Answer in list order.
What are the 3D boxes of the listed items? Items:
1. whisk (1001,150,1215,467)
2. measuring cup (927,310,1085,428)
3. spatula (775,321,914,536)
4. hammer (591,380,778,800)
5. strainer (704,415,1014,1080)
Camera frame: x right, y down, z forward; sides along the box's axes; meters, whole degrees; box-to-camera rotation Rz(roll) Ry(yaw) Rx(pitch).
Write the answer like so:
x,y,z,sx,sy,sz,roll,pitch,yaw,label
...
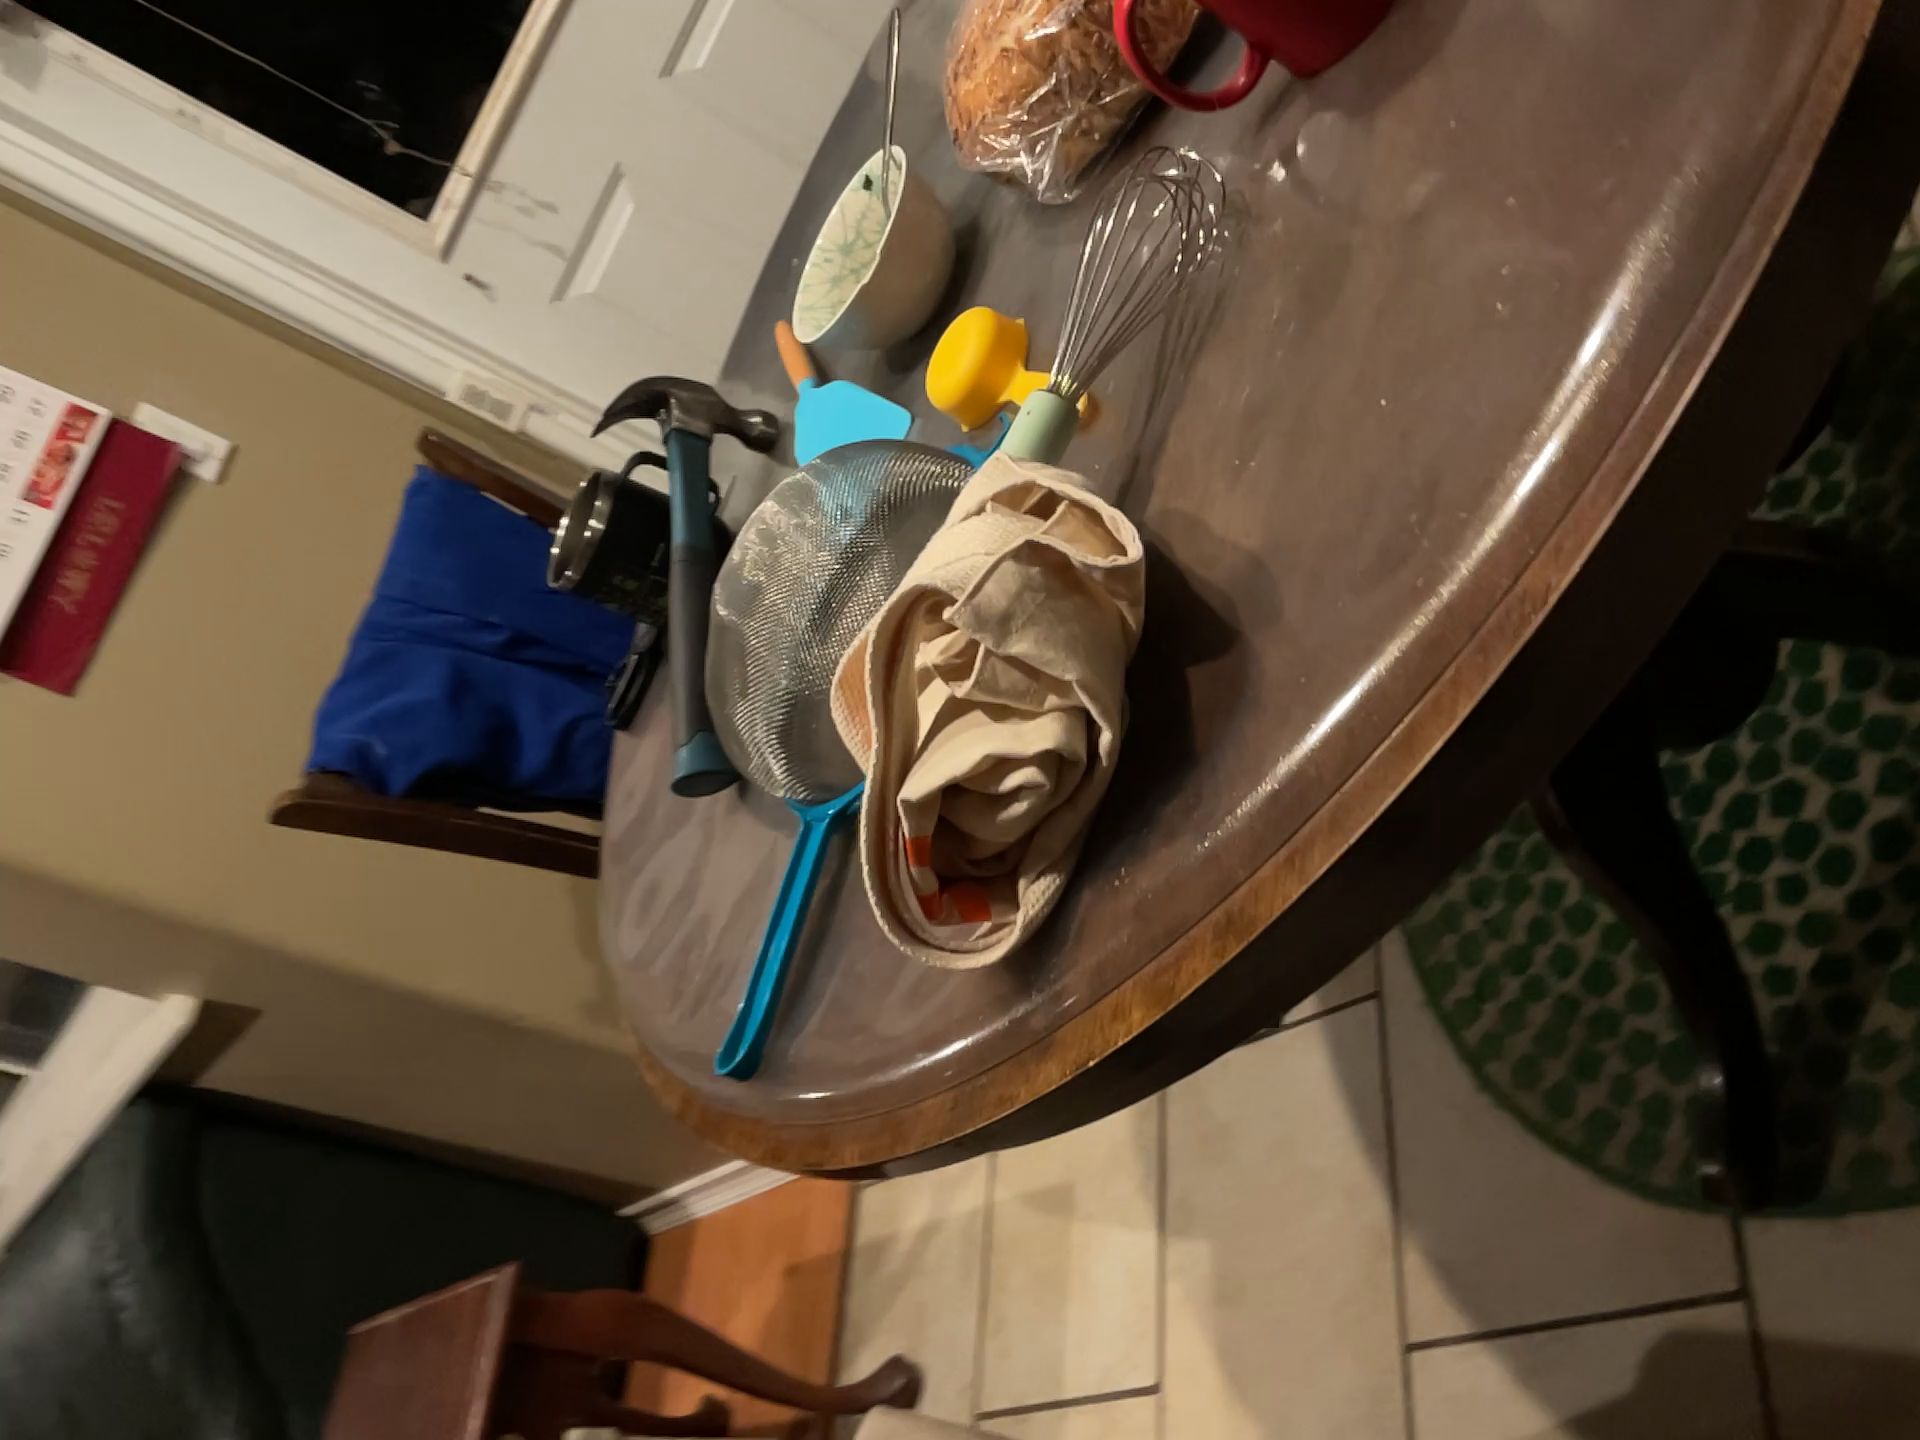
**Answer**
x,y,z,sx,sy,sz,roll,pitch,yaw,label
0.042,-0.139,0.673,0.059,0.057,0.246,18,74,33,whisk
0.021,-0.170,0.789,0.062,0.029,0.156,-62,25,8,measuring cup
-0.092,-0.214,1.048,0.082,0.044,0.318,-58,23,18,spatula
-0.166,-0.092,1.013,0.033,0.128,0.331,-46,42,40,hammer
-0.087,-0.003,0.782,0.211,0.095,0.340,-17,50,58,strainer
